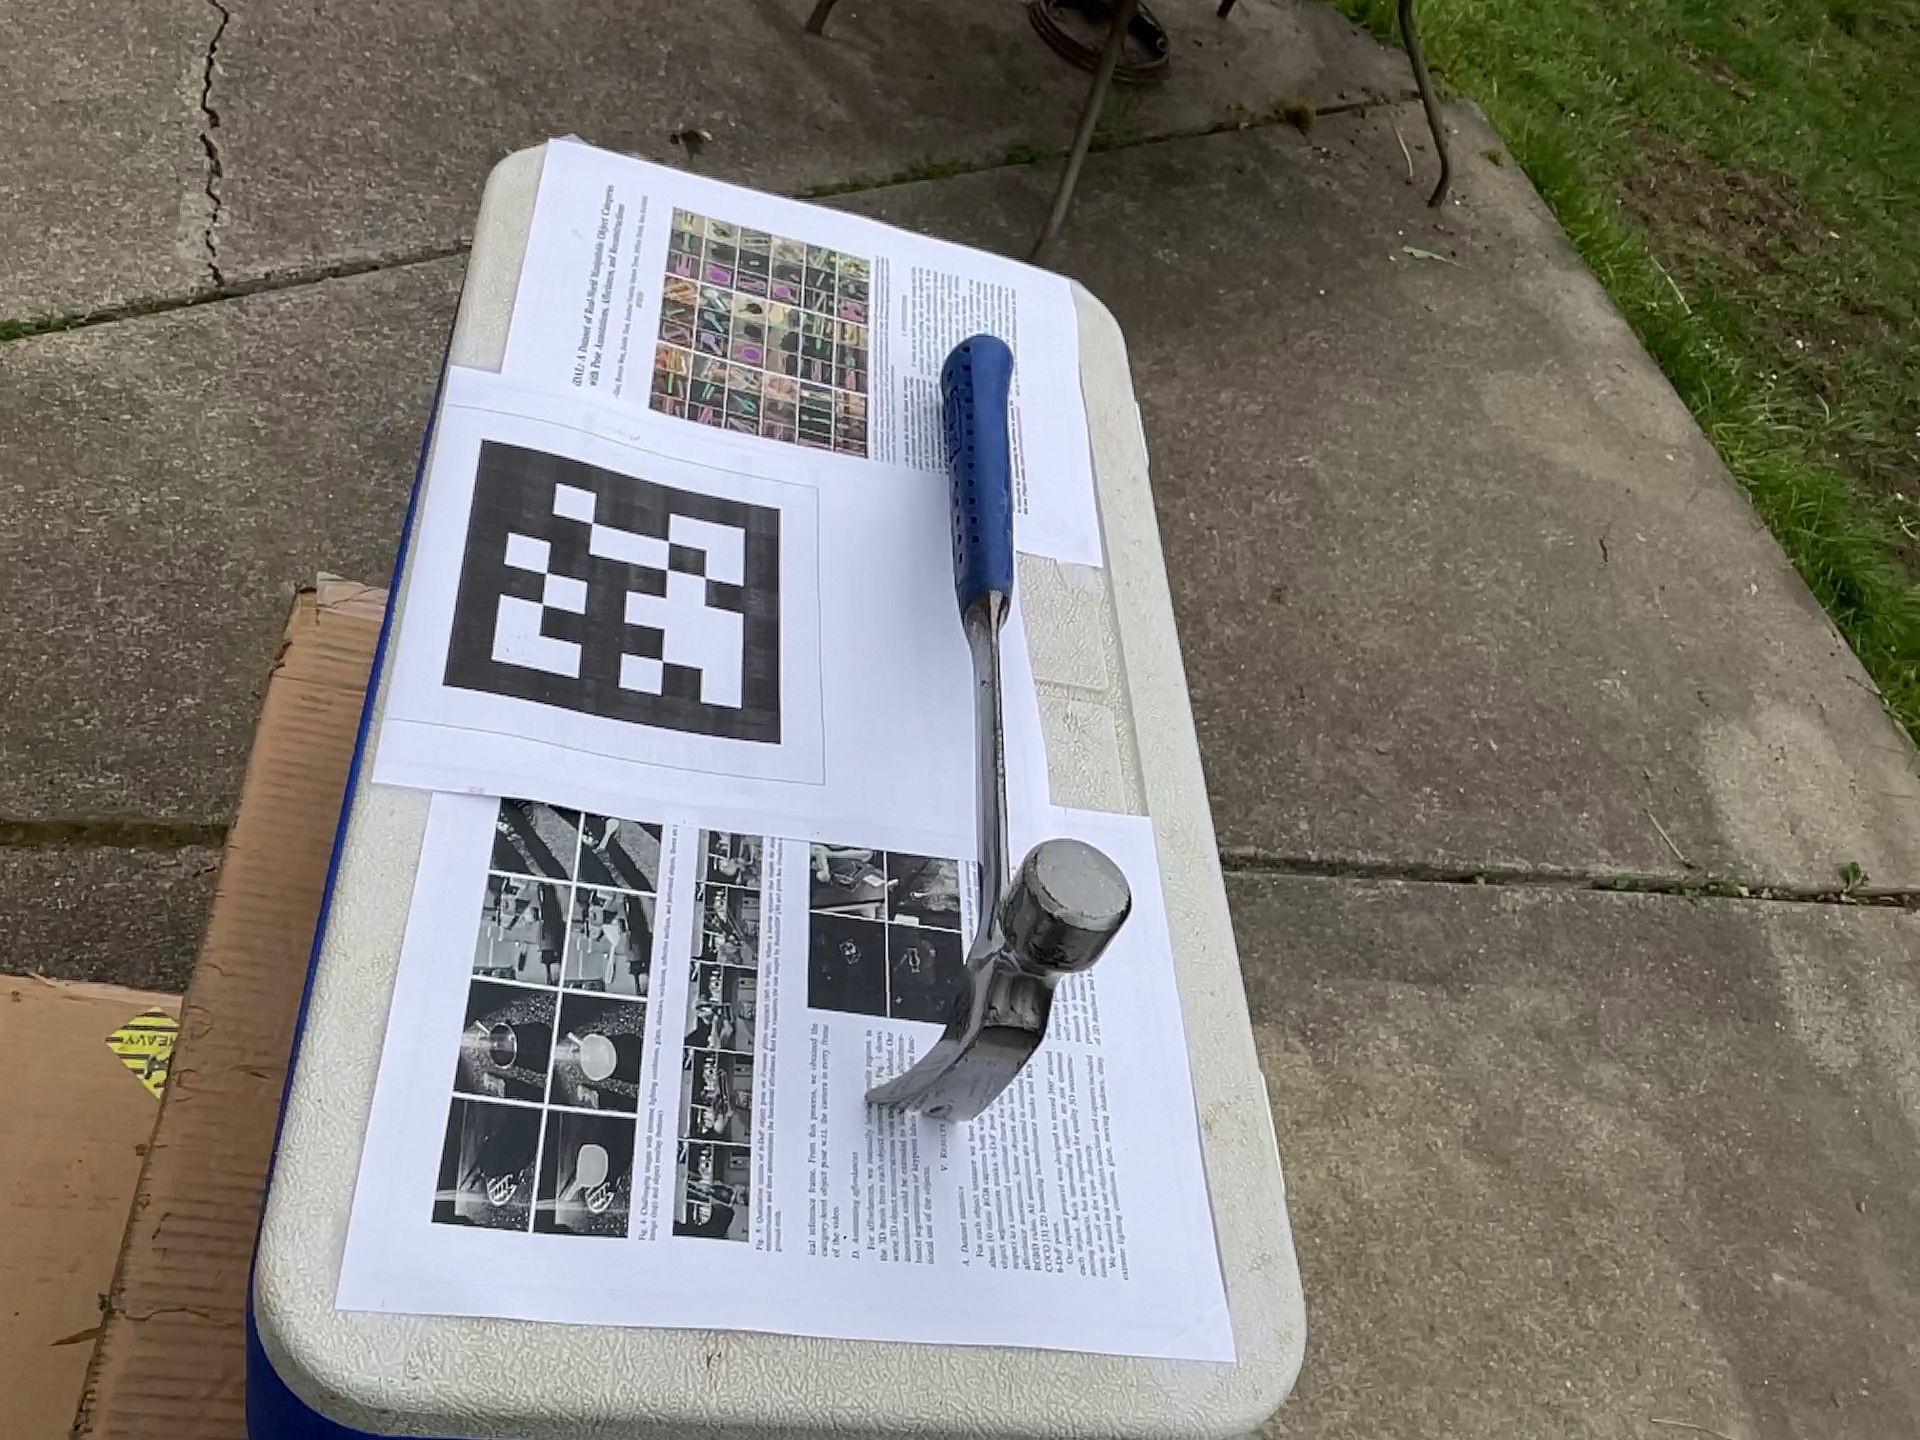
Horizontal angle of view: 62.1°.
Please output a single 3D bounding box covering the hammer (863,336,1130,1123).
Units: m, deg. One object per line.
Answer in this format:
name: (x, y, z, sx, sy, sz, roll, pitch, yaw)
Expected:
hammer: (0.007, -0.030, 0.634, 0.035, 0.144, 0.406, 16, 40, -14)
